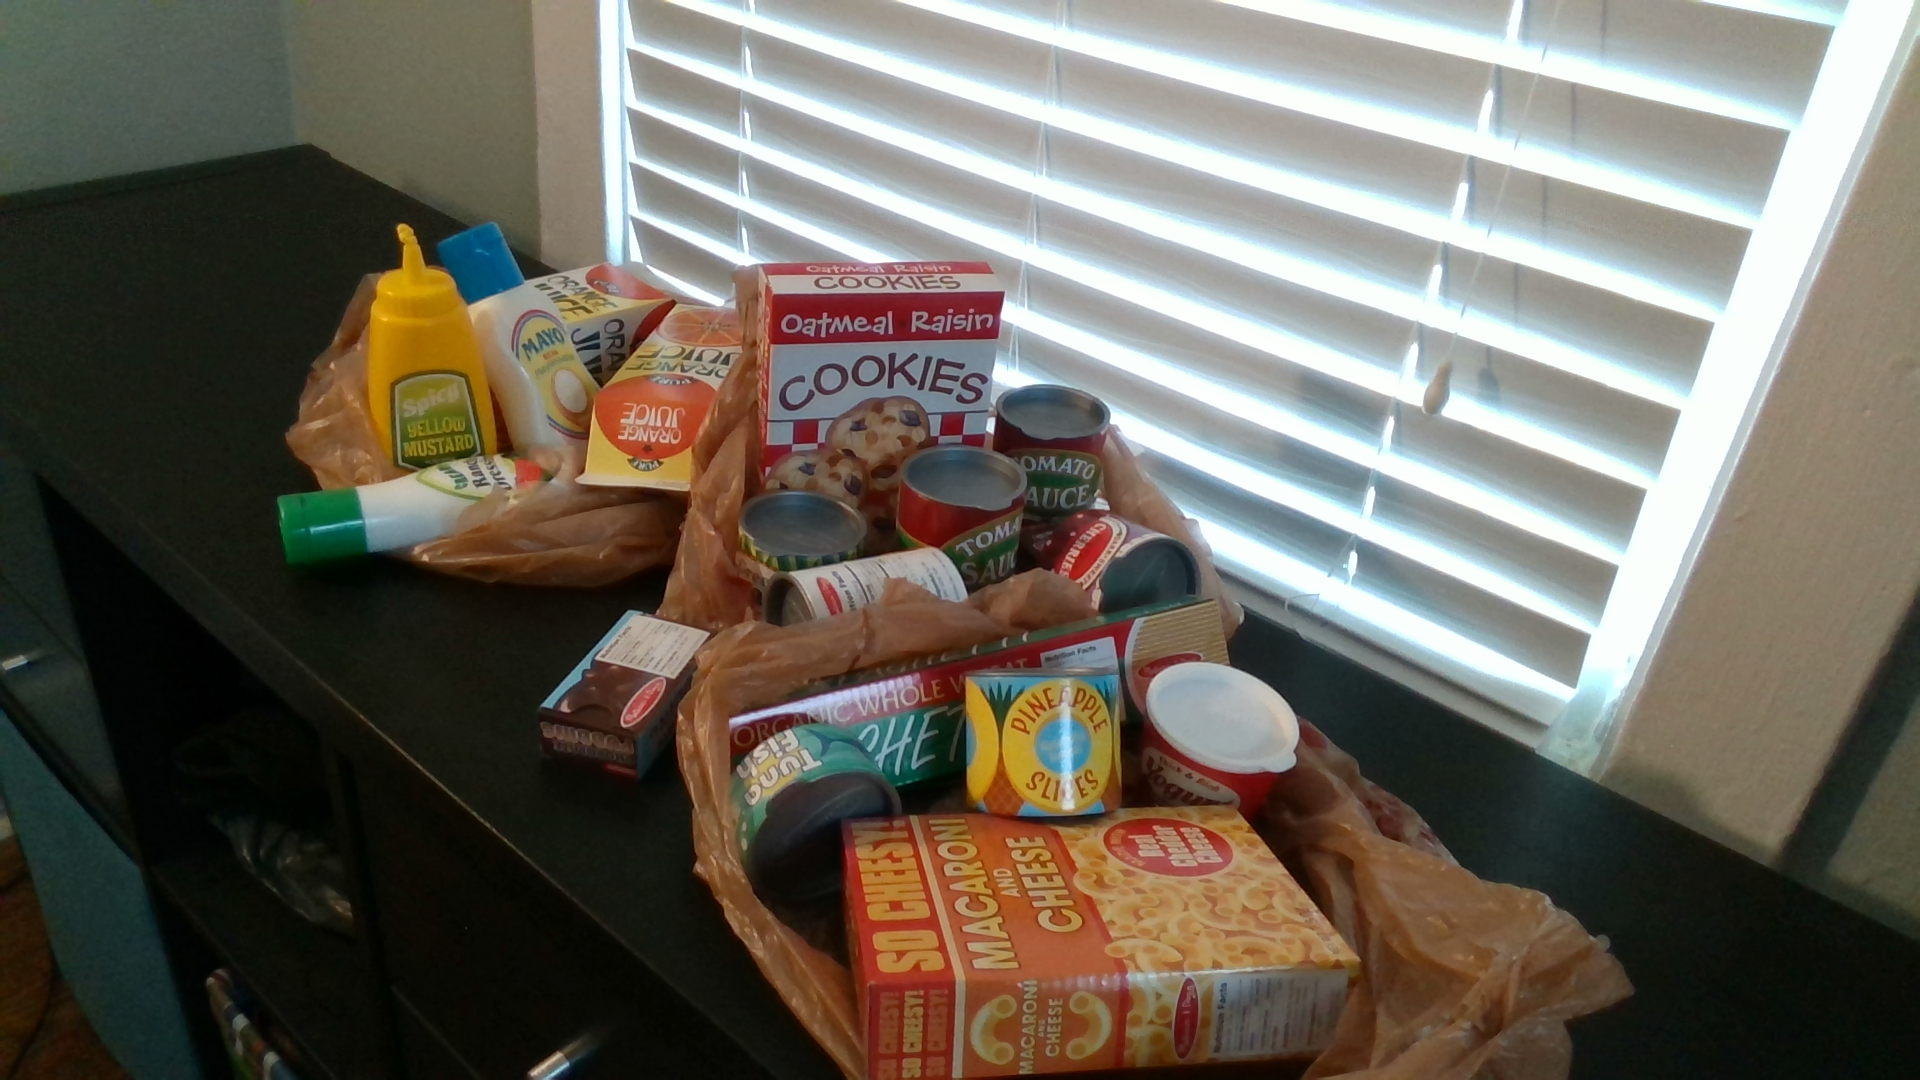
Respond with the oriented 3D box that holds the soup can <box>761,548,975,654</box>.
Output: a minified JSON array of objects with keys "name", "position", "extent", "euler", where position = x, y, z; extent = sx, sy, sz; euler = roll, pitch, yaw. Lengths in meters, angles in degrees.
[{"name":"soup can","position":[-0.045,0.044,0.661],"extent":[0.084,0.071,0.071],"euler":[-9,34,-27]}]

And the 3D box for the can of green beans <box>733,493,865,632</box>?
[{"name":"can of green beans","position":[-0.086,0.015,0.716],"extent":[0.071,0.057,0.071],"euler":[8,26,-4]}]

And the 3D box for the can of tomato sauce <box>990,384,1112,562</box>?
[{"name":"can of tomato sauce","position":[0.047,-0.037,0.789],"extent":[0.071,0.082,0.071],"euler":[6,30,-3]}]

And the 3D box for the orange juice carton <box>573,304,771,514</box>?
[{"name":"orange juice carton","position":[-0.161,-0.072,0.819],"extent":[0.072,0.072,0.193],"euler":[6,29,4]}]

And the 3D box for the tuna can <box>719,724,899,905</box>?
[{"name":"tuna can","position":[-0.062,0.106,0.549],"extent":[0.071,0.070,0.033],"euler":[-14,35,-30]}]

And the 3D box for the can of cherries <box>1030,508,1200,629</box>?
[{"name":"can of cherries","position":[0.076,0.020,0.703],"extent":[0.072,0.071,0.058],"euler":[-15,22,-31]}]

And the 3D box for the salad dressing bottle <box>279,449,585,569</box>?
[{"name":"salad dressing bottle","position":[-0.278,-0.015,0.736],"extent":[0.148,0.043,0.064],"euler":[-12,32,-26]}]

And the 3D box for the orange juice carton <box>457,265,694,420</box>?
[{"name":"orange juice carton","position":[-0.251,-0.124,0.889],"extent":[0.072,0.072,0.193],"euler":[29,35,32]}]

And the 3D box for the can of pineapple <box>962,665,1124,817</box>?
[{"name":"can of pineapple","position":[0.035,0.082,0.573],"extent":[0.071,0.058,0.071],"euler":[-1,-4,0]}]

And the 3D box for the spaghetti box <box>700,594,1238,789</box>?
[{"name":"spaghetti box","position":[0.009,0.072,0.614],"extent":[0.251,0.050,0.028],"euler":[-11,5,-20]}]

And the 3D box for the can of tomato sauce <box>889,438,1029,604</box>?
[{"name":"can of tomato sauce","position":[-0.001,0.000,0.715],"extent":[0.071,0.082,0.071],"euler":[5,33,-3]}]

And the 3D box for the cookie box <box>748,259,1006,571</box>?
[{"name":"cookie box","position":[-0.048,-0.065,0.741],"extent":[0.123,0.166,0.040],"euler":[-4,33,-19]}]

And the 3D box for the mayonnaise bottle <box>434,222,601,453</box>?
[{"name":"mayonnaise bottle","position":[-0.249,-0.107,0.797],"extent":[0.041,0.147,0.065],"euler":[-14,18,36]}]

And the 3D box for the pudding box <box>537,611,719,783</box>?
[{"name":"pudding box","position":[-0.149,0.069,0.633],"extent":[0.050,0.030,0.084],"euler":[12,32,11]}]

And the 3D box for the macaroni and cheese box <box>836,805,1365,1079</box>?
[{"name":"macaroni and cheese box","position":[0.042,0.142,0.509],"extent":[0.167,0.040,0.124],"euler":[0,13,-10]}]

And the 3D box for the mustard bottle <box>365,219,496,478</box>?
[{"name":"mustard bottle","position":[-0.290,-0.095,0.750],"extent":[0.065,0.159,0.049],"euler":[-12,37,-25]}]

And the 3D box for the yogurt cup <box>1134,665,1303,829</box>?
[{"name":"yogurt cup","position":[0.109,0.095,0.607],"extent":[0.072,0.053,0.073],"euler":[10,31,-6]}]
